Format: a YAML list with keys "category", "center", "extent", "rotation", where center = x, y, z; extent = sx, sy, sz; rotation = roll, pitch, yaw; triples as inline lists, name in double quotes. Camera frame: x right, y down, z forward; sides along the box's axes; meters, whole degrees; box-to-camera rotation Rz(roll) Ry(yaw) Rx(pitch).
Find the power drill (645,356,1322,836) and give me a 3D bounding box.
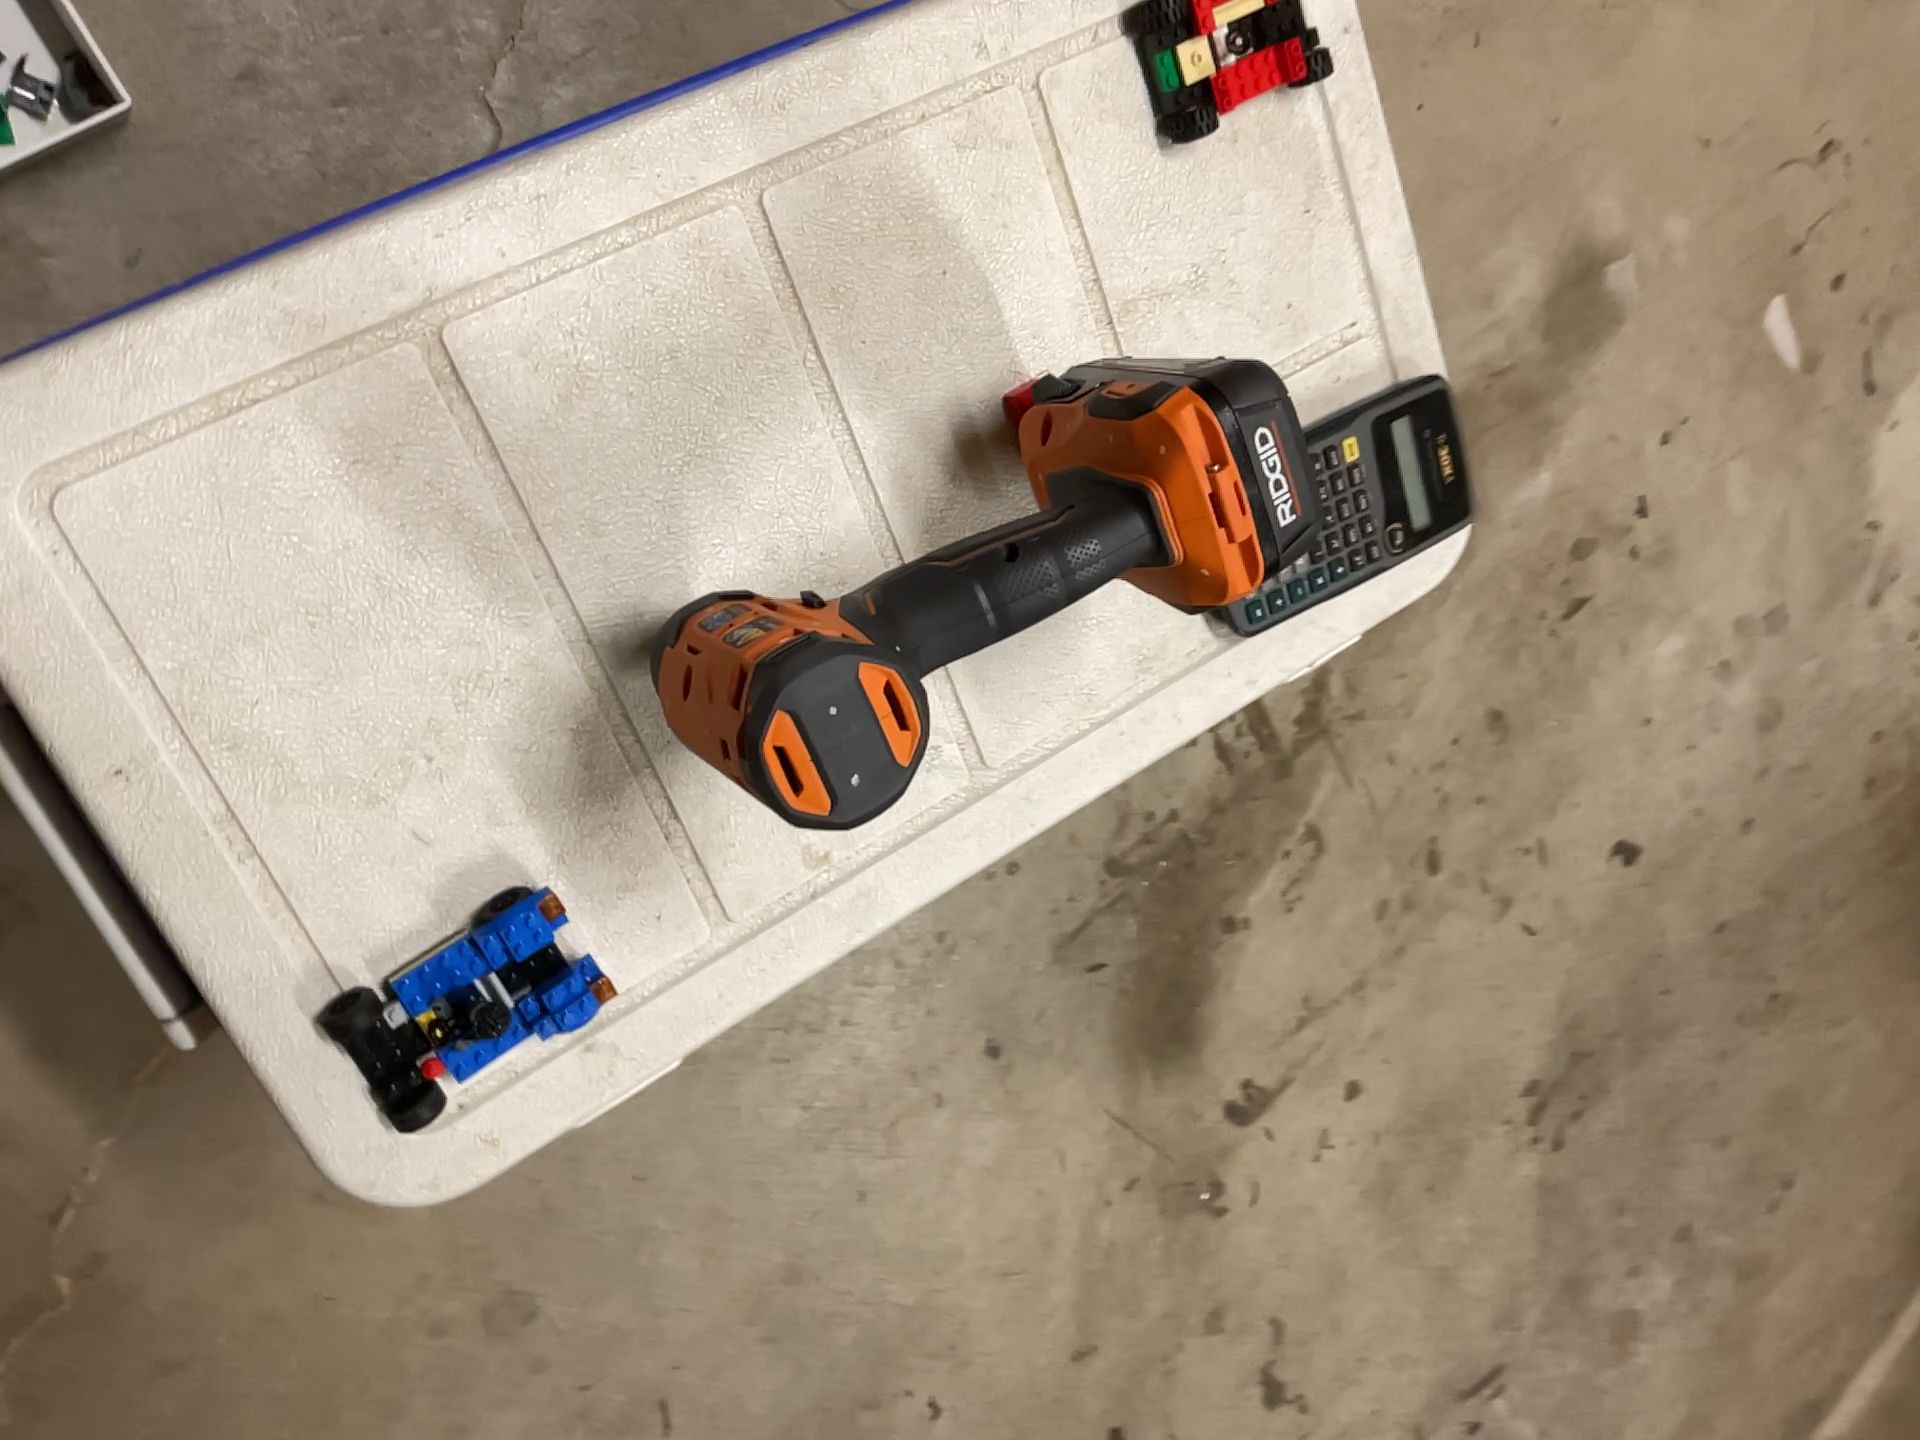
- category: "power drill"
  center: [-0.005, -0.051, 0.572]
  extent: [0.226, 0.164, 0.084]
  rotation: [-31, 115, -19]
